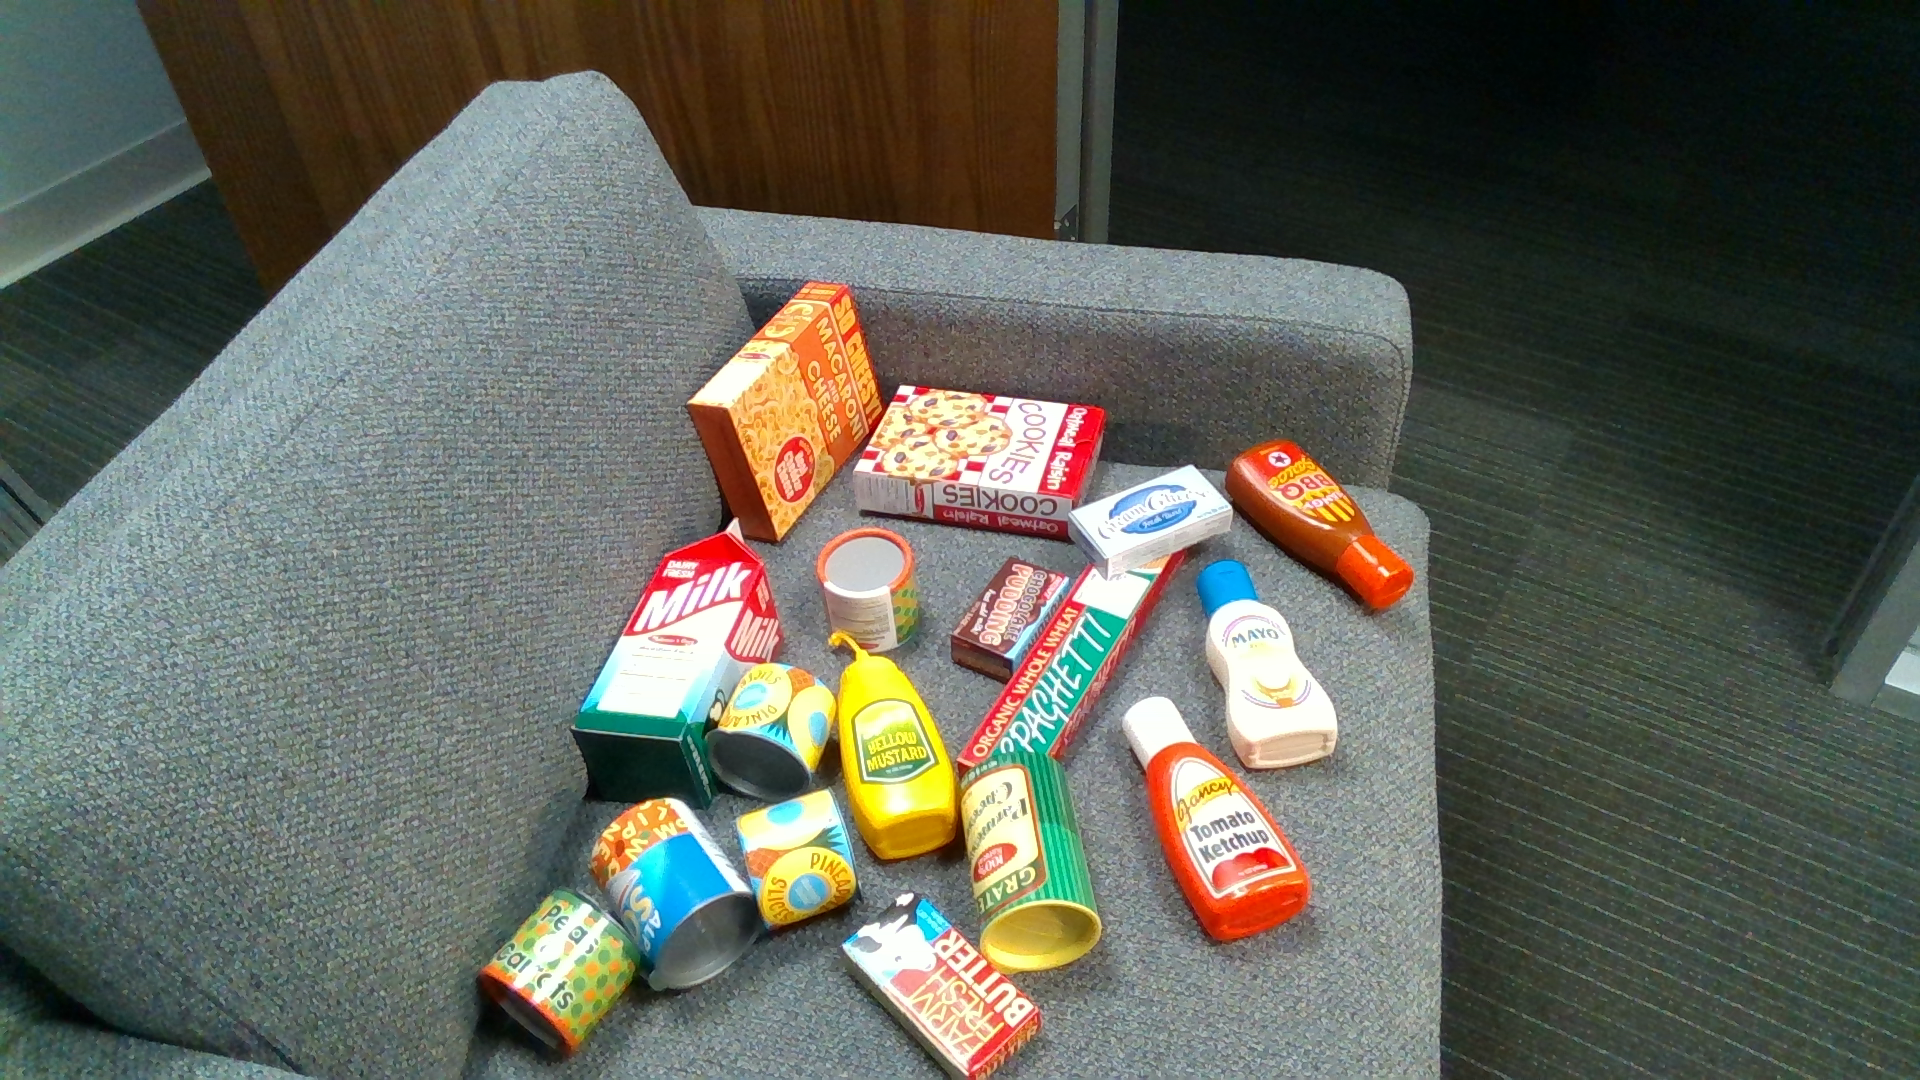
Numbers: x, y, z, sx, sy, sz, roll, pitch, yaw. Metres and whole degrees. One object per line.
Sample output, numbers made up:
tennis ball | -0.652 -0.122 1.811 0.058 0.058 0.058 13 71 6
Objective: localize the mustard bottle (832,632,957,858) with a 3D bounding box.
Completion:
mustard bottle | -0.049 0.116 0.858 0.065 0.048 0.161 -14 49 -12

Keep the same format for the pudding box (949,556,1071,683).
pudding box | 0.035 0.053 0.926 0.050 0.030 0.084 20 50 25

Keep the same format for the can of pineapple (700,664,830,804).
can of pineapple | -0.118 0.116 0.848 0.071 0.070 0.058 5 40 10

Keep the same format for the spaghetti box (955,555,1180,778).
spaghetti box | 0.078 0.069 0.904 0.050 0.028 0.251 19 47 23

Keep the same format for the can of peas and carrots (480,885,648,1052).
can of peas and carrots | -0.211 0.227 0.738 0.071 0.070 0.059 22 52 26

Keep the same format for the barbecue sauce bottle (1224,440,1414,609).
barbecue sauce bottle | 0.254 -0.011 0.977 0.065 0.043 0.149 -19 47 -23

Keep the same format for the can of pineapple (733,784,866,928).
can of pineapple | -0.090 0.178 0.780 0.058 0.070 0.071 -16 44 -12

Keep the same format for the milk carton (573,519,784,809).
milk carton | -0.170 0.074 0.901 0.073 0.072 0.192 4 44 14

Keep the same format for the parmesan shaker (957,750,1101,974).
parmesan shaker | 0.034 0.179 0.778 0.071 0.071 0.103 -8 43 -3

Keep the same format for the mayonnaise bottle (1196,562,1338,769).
mayonnaise bottle | 0.188 0.076 0.887 0.065 0.041 0.149 -10 43 -3

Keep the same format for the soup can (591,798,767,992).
soup can | -0.159 0.195 0.767 0.071 0.071 0.084 -29 49 -24

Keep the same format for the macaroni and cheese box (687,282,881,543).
macaroni and cheese box | -0.124 -0.098 1.041 0.040 0.123 0.167 8 44 28

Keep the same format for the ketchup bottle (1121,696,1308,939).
ketchup bottle | 0.139 0.156 0.806 0.065 0.043 0.149 -15 44 -12

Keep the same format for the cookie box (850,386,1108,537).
cookie box | 0.017 -0.062 1.041 0.167 0.040 0.123 8 38 13

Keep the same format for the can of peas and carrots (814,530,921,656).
can of peas and carrots | -0.062 0.033 0.937 0.071 0.058 0.071 -3 42 3

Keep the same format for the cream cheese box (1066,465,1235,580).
cream cheese box | 0.130 -0.013 0.947 0.104 0.024 0.053 -21 44 -18

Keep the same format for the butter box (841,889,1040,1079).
butter box | -0.011 0.239 0.742 0.053 0.024 0.104 -35 51 -26
